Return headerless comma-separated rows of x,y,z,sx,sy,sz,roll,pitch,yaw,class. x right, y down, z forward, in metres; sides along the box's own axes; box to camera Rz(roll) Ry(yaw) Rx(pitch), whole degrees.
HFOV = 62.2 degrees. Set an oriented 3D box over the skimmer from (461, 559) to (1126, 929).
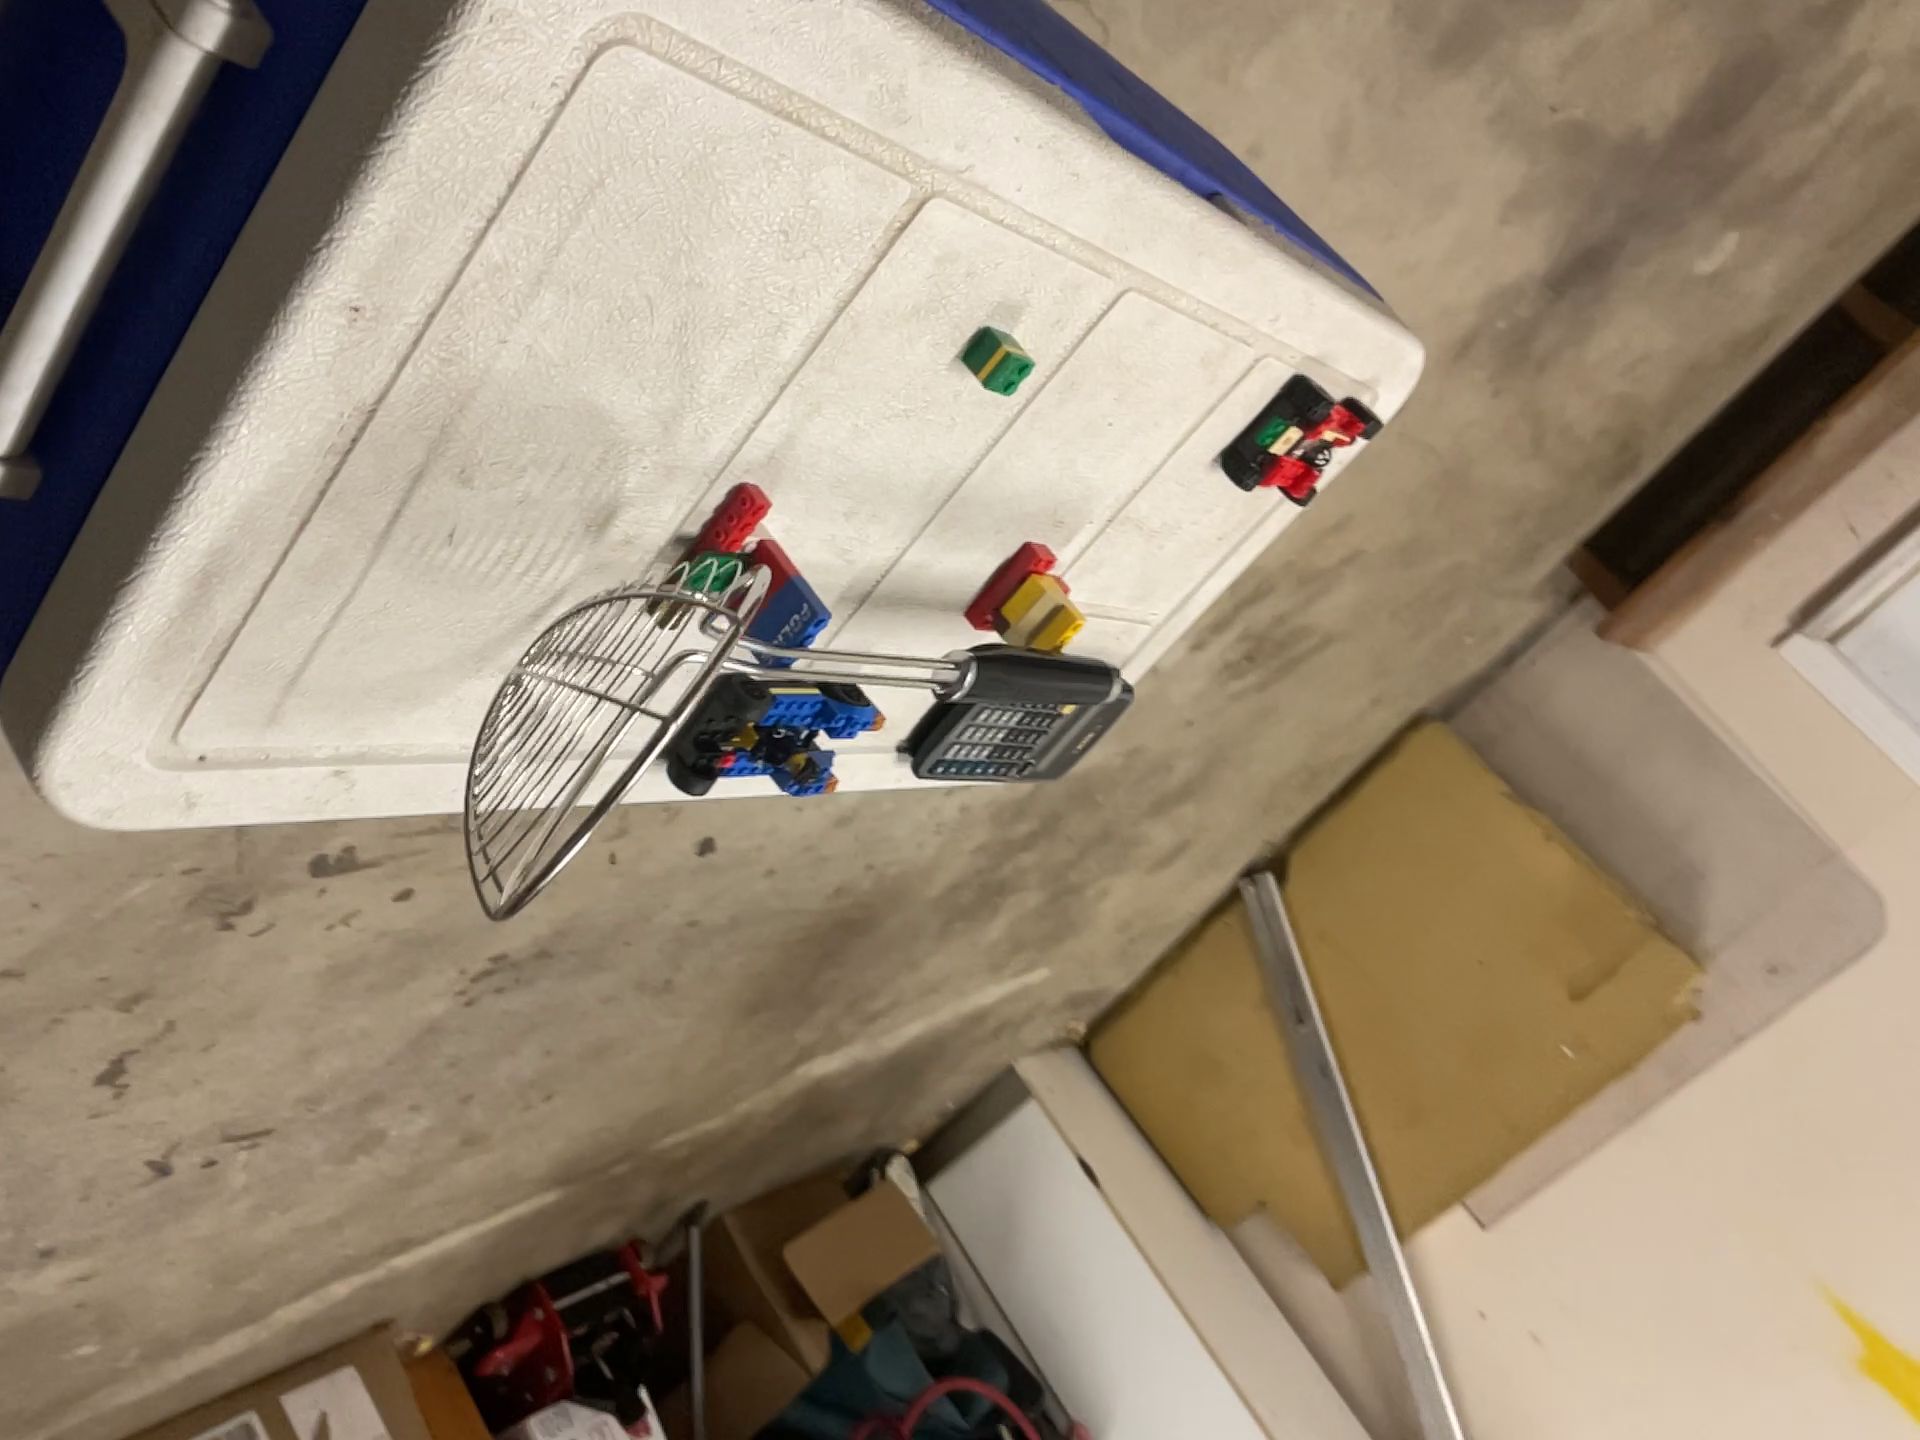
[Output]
-0.022,0.004,0.567,0.127,0.090,0.363,-46,155,26,skimmer
